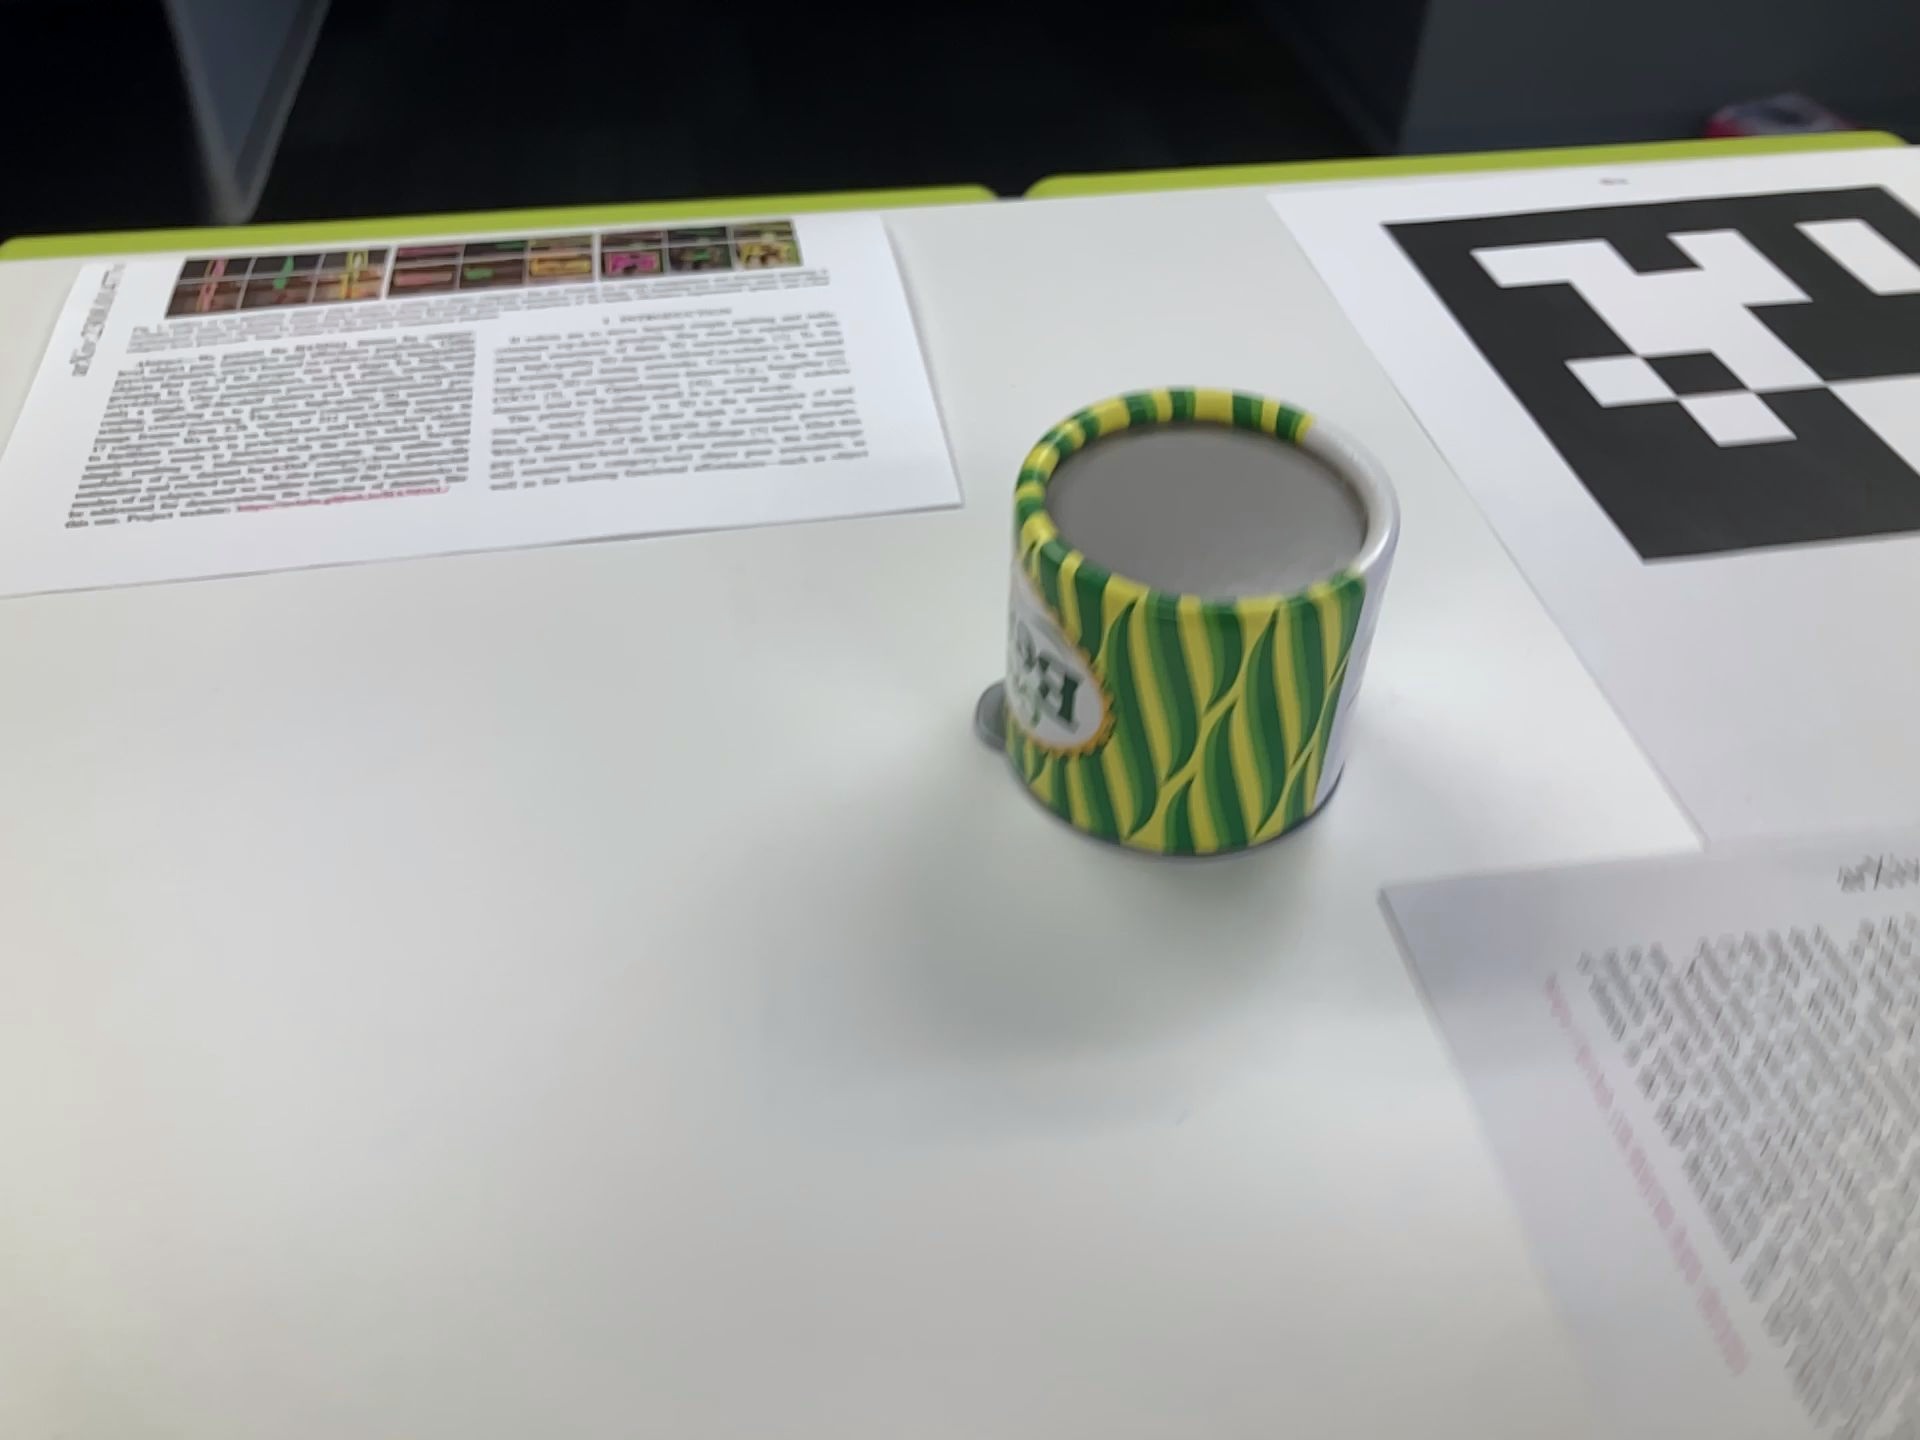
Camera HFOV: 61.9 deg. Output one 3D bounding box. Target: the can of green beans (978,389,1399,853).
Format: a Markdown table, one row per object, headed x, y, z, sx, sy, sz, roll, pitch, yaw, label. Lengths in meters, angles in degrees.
| x | y | z | sx | sy | sz | roll | pitch | yaw | label |
| --- | --- | --- | --- | --- | --- | --- | --- | --- | --- |
| 0.042 | -0.019 | 0.294 | 0.071 | 0.058 | 0.071 | 0 | 44 | 0 | can of green beans |
